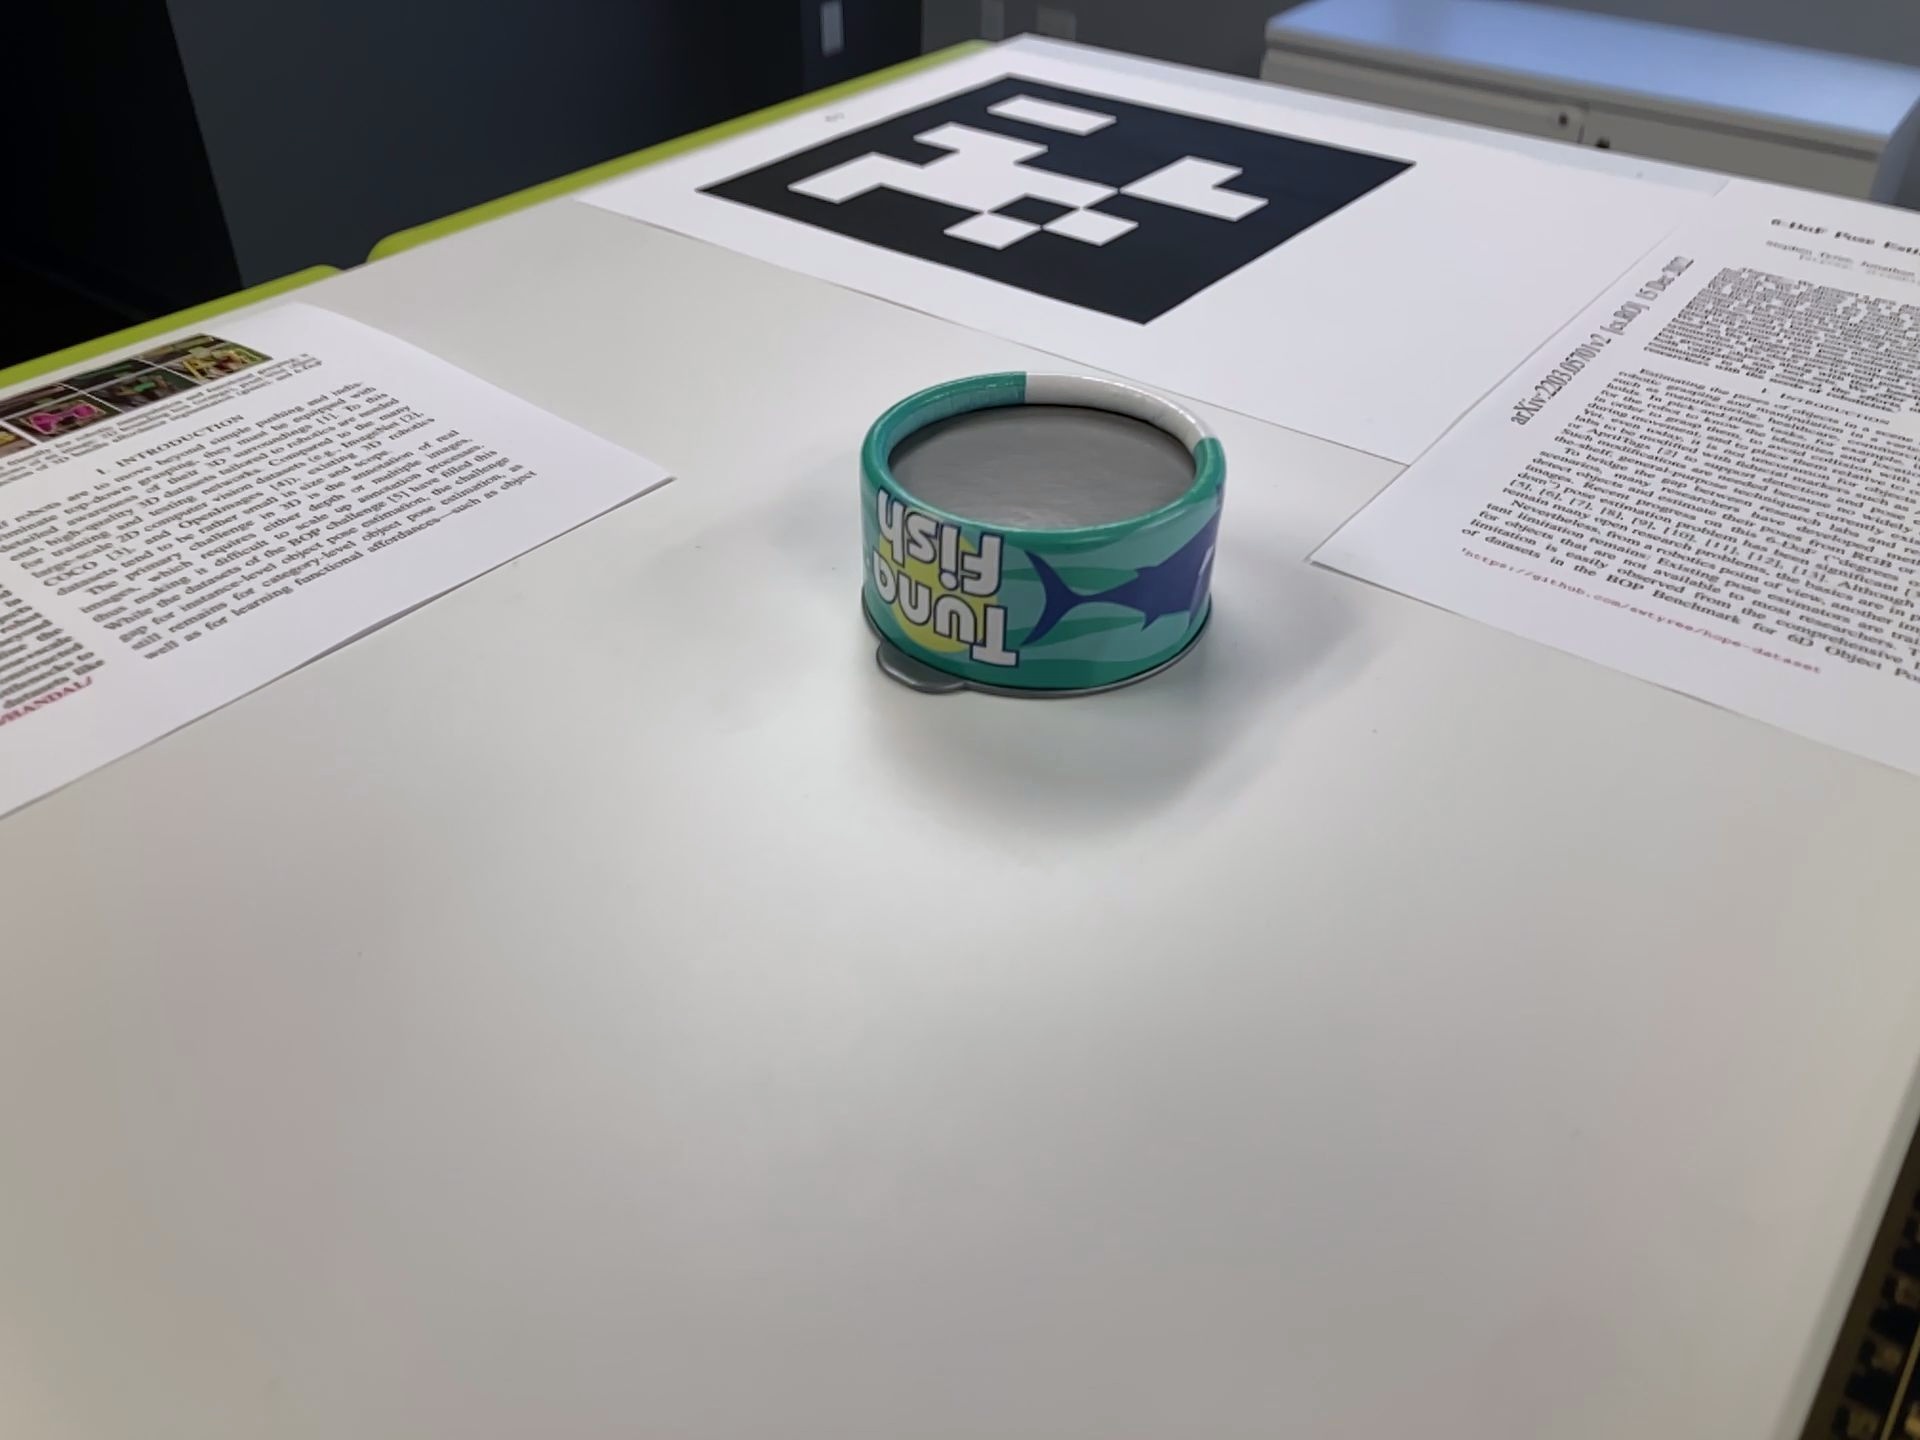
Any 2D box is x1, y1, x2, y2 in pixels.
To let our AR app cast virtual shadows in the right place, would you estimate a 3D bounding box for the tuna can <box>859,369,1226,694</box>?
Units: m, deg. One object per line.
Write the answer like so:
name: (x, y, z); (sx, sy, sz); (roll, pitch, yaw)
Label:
tuna can: (0.013, -0.036, 0.289); (0.071, 0.033, 0.071); (-1, 36, 1)
